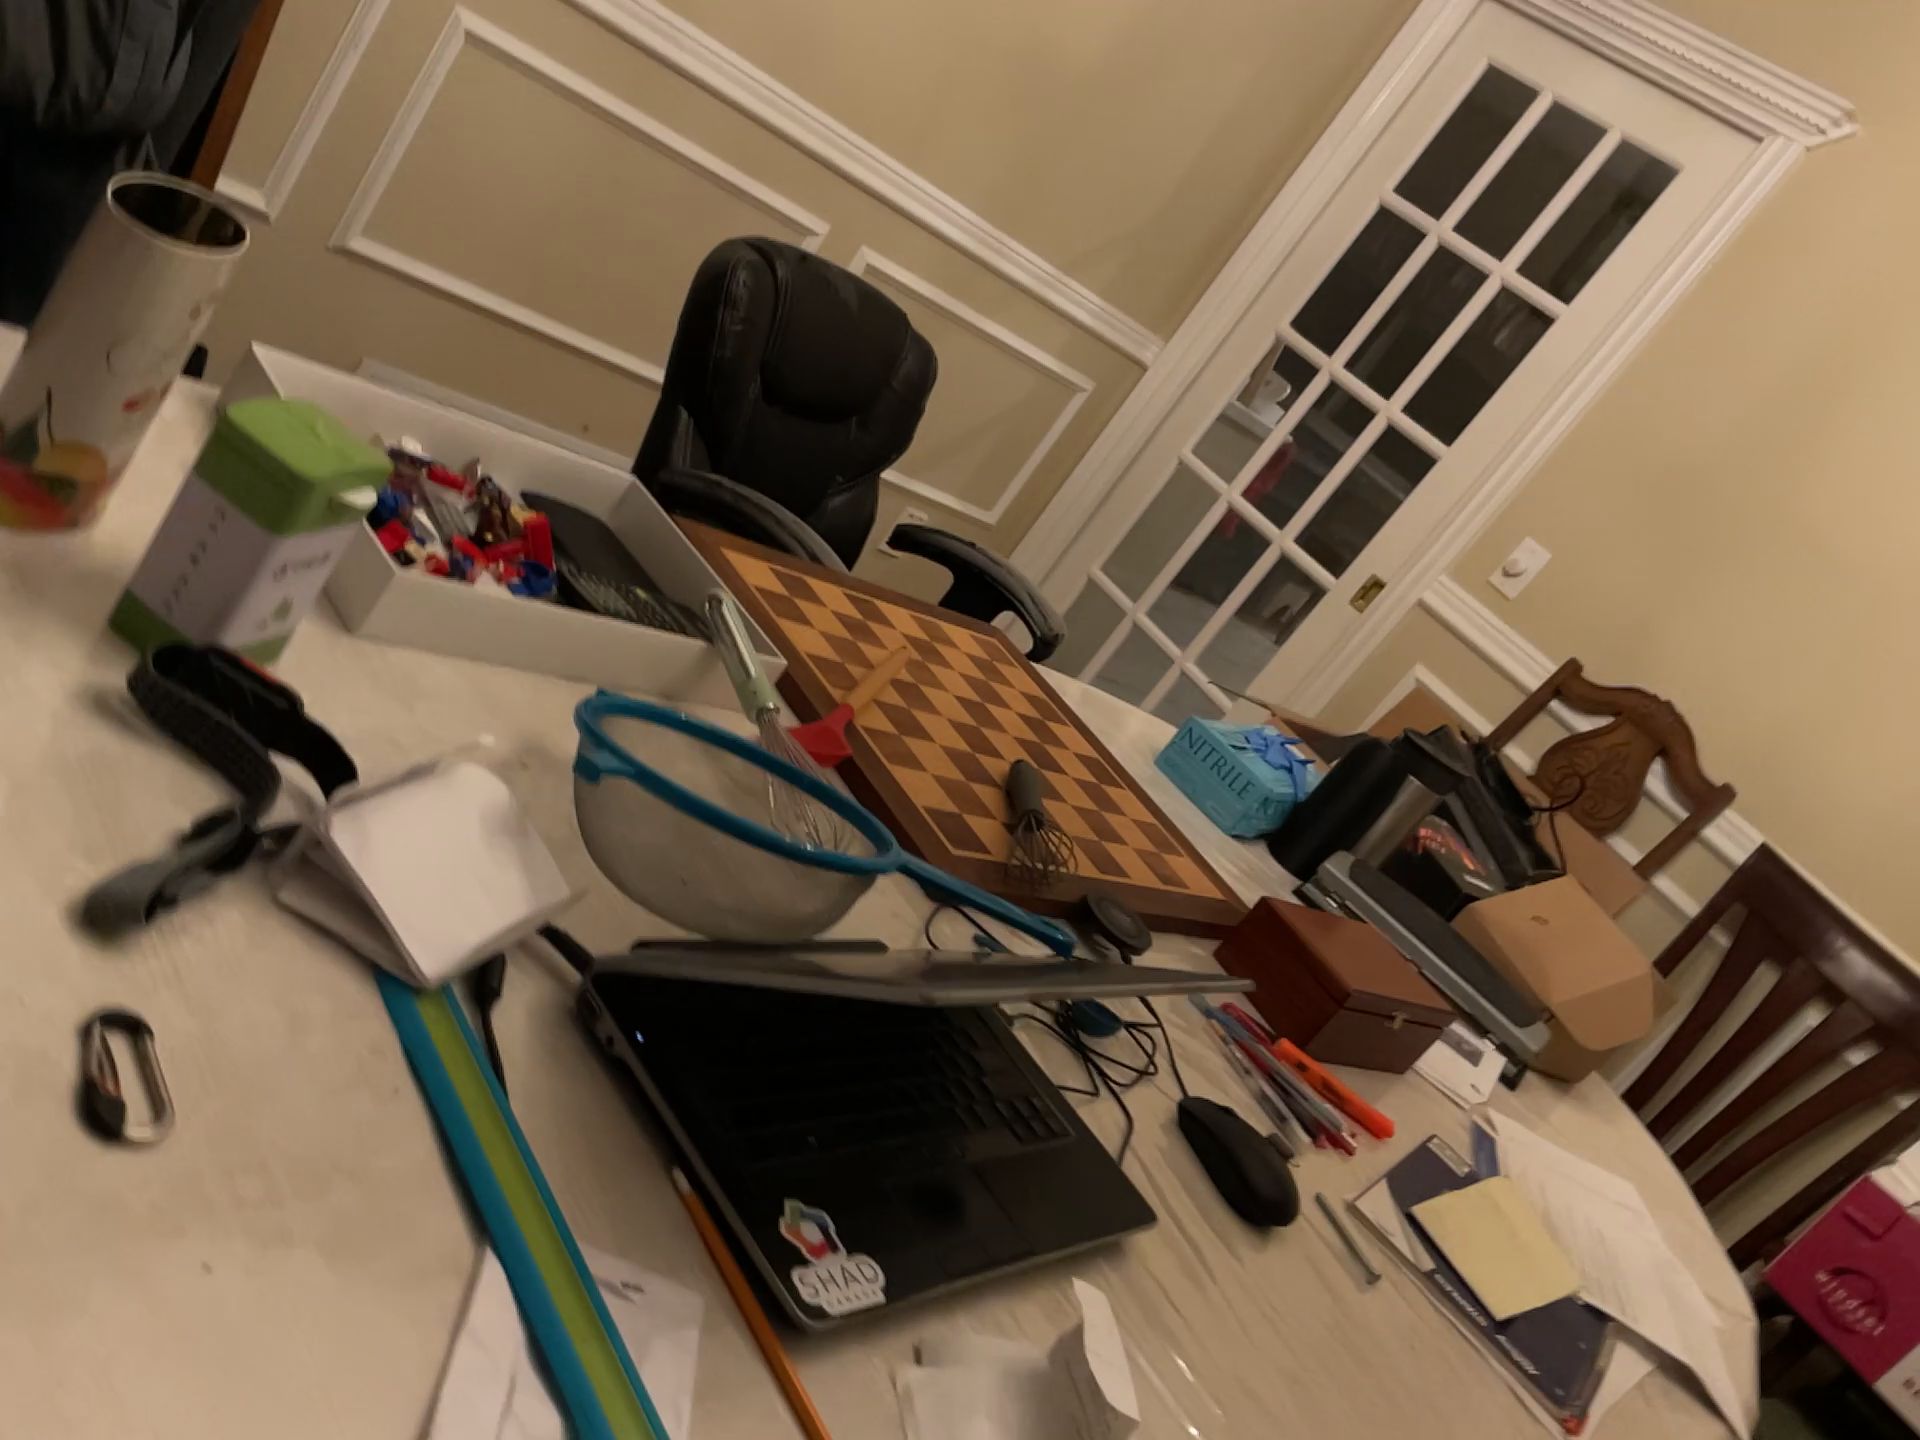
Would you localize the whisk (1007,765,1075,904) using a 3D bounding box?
[{"bbox_3d":[0.061,0.088,1.332,0.055,0.055,0.239,47,10,-16],"label":"whisk"}]

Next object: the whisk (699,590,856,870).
[{"bbox_3d":[-0.137,0.004,1.135,0.247,0.058,0.059,63,-2,26],"label":"whisk"}]

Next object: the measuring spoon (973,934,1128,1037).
[{"bbox_3d":[0.061,0.195,1.155,0.129,0.021,0.042,29,8,13],"label":"measuring spoon"}]

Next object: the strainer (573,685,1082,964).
[{"bbox_3d":[-0.091,0.100,0.954,0.340,0.095,0.211,27,7,-14],"label":"strainer"}]

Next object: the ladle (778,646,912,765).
[{"bbox_3d":[-0.088,-0.018,1.329,0.069,0.031,0.315,17,21,9],"label":"ladle"}]
